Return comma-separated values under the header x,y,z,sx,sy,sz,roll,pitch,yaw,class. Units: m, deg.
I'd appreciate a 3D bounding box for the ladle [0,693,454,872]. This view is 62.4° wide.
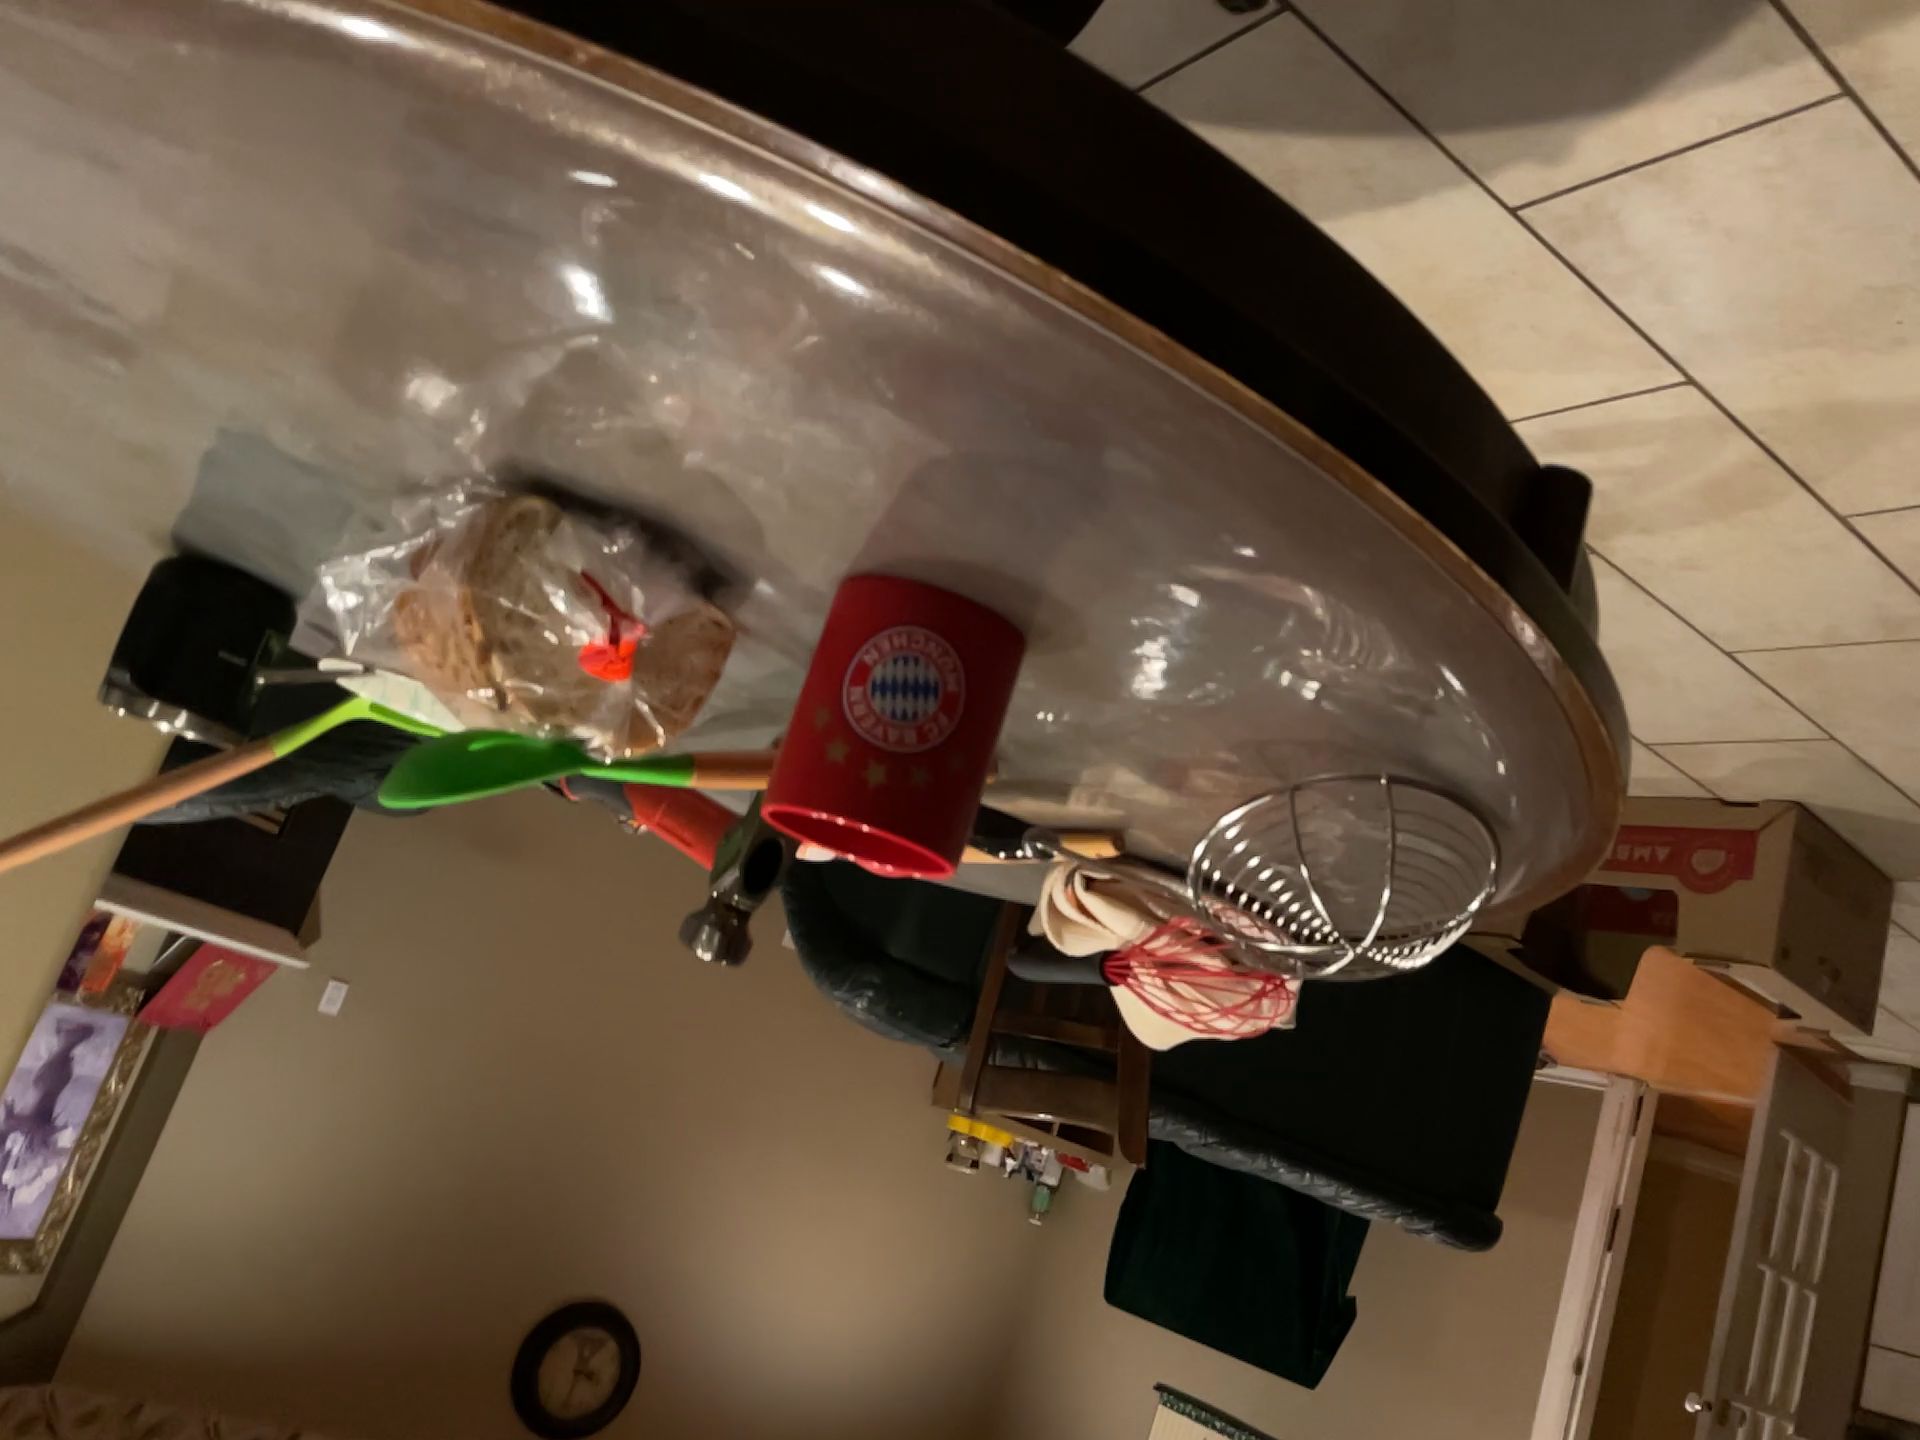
x,y,z,sx,sy,sz,roll,pitch,yaw,class
-0.446,0.039,0.980,0.062,0.320,0.078,60,155,10,ladle

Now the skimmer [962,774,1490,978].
x,y,z,sx,sy,sz,roll,pitch,yaw,class
0.090,0.048,0.787,0.127,0.090,0.364,37,168,-32,skimmer

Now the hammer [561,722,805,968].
x,y,z,sx,sy,sz,roll,pitch,yaw,class
-0.180,0.036,0.986,0.038,0.143,0.387,27,175,-27,hammer

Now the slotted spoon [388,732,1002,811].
x,y,z,sx,sy,sz,roll,pitch,yaw,class
-0.103,0.023,0.728,0.313,0.031,0.070,1,-176,-39,slotted spoon

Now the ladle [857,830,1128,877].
x,y,z,sx,sy,sz,roll,pitch,yaw,class
0.008,0.083,1.025,0.069,0.031,0.316,26,162,-27,ladle

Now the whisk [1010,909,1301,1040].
x,y,z,sx,sy,sz,roll,pitch,yaw,class
0.105,0.149,0.947,0.073,0.073,0.296,23,165,-22,whisk
